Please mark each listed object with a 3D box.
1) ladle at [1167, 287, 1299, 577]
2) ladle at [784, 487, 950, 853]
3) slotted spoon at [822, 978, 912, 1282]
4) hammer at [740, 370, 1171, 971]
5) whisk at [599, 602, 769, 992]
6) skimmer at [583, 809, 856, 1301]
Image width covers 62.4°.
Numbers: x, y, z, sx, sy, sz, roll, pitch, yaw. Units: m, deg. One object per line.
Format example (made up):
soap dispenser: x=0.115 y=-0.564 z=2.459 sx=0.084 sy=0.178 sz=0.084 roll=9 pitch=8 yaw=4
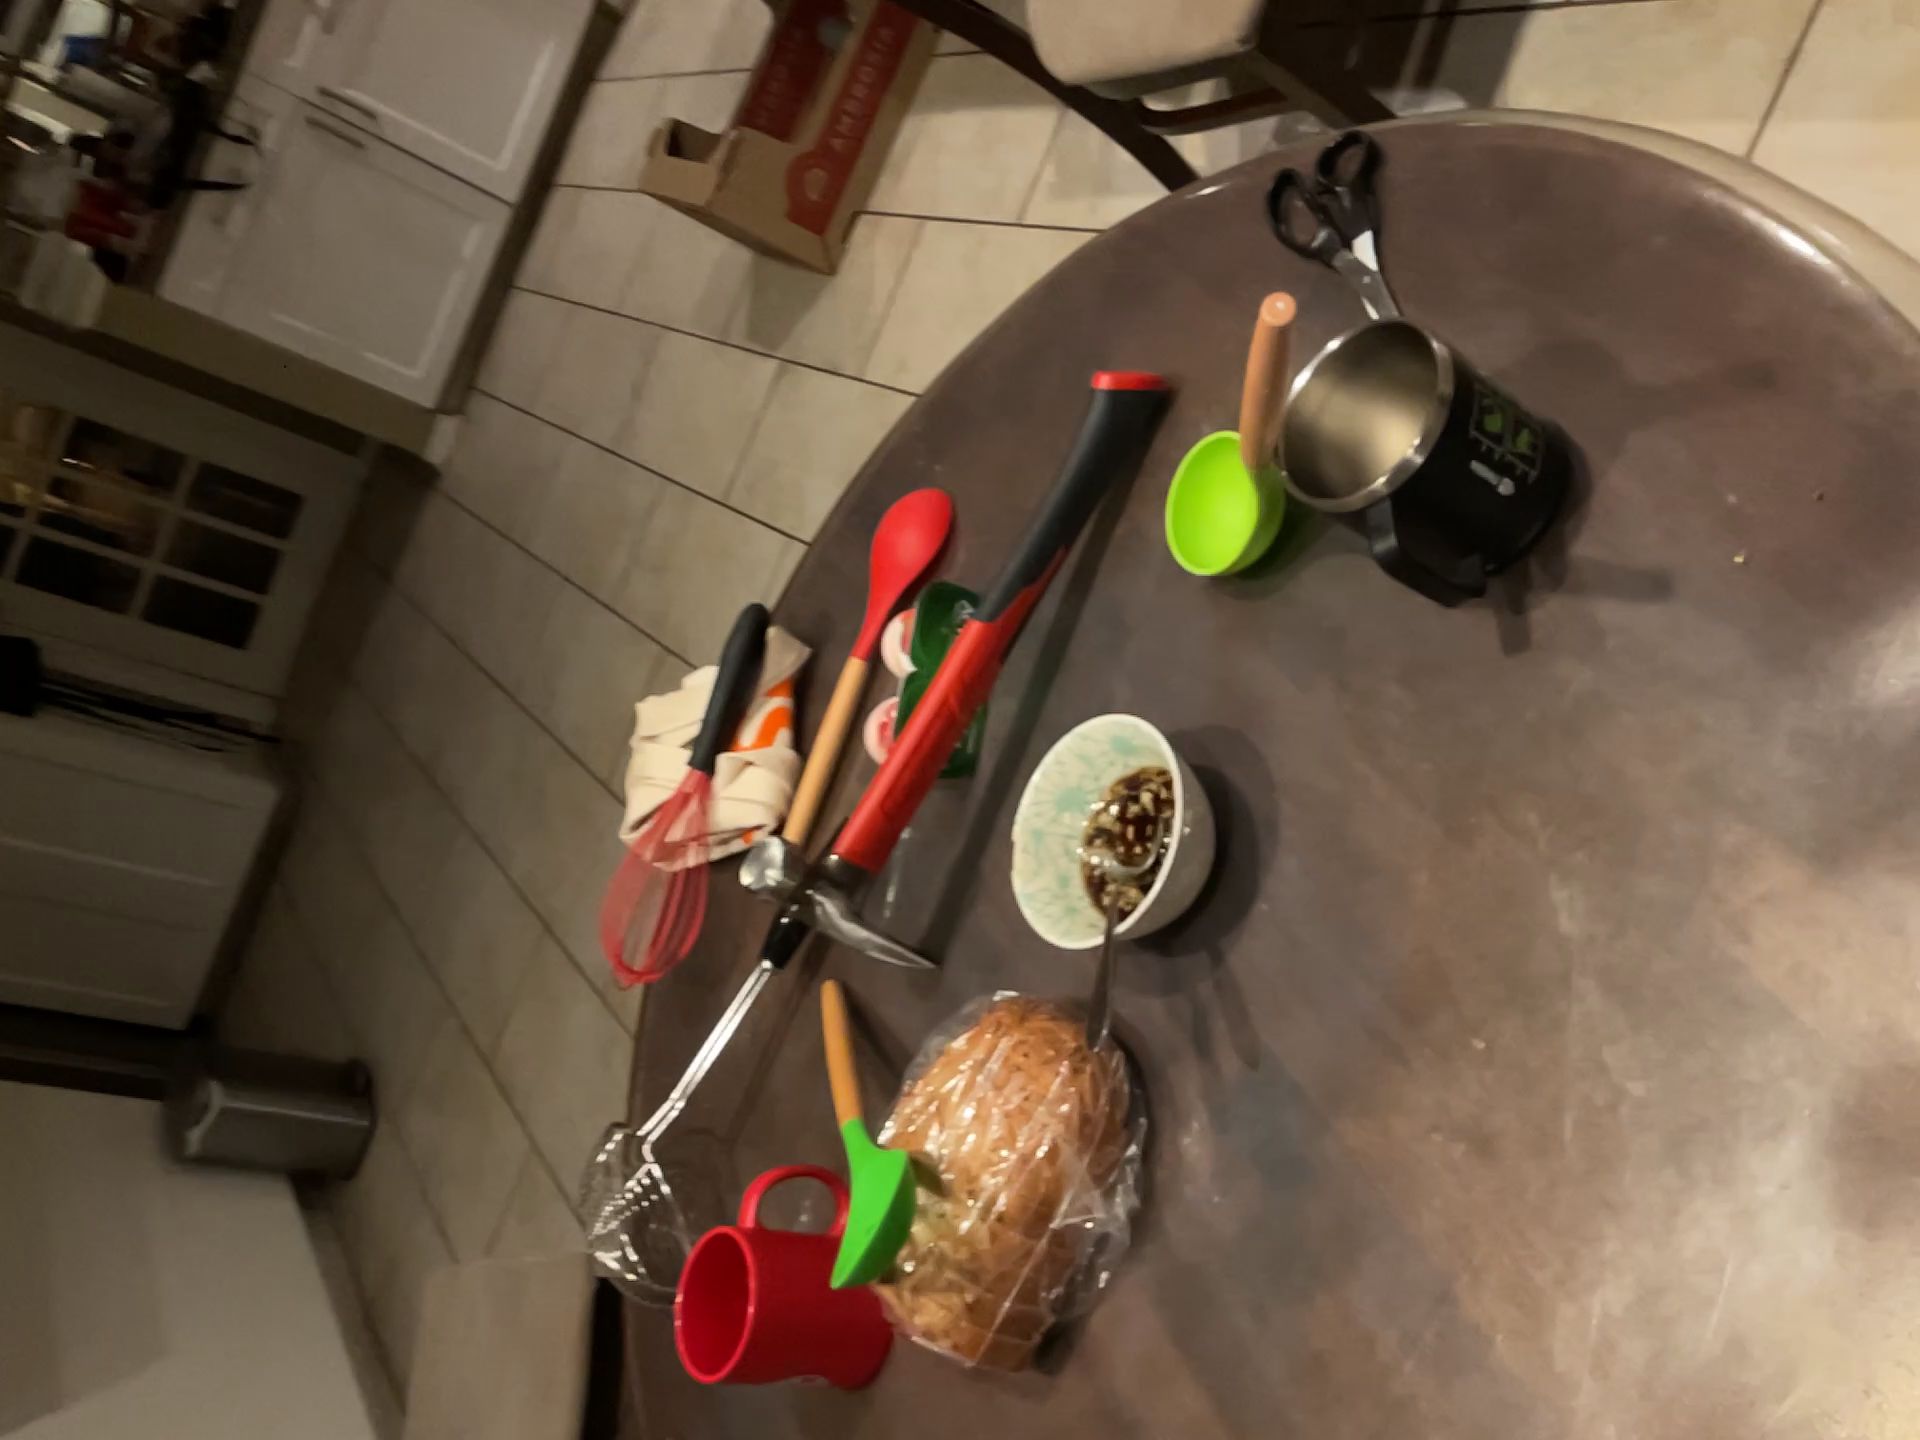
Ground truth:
ladle: x=0.123 y=-0.128 z=0.717 sx=0.062 sy=0.320 sz=0.078 roll=1 pitch=83 yaw=8
ladle: x=-0.079 y=-0.019 z=1.114 sx=0.069 sy=0.031 sz=0.315 roll=25 pitch=96 yaw=55
slotted spoon: x=-0.061 y=0.214 z=0.890 sx=0.070 sy=0.031 sz=0.314 roll=-58 pitch=15 yaw=8
hammer: x=0.025 y=-0.035 z=0.947 sx=0.038 sy=0.143 sz=0.386 roll=26 pitch=83 yaw=53
whisk: x=-0.194 y=0.055 z=1.144 sx=0.073 sy=0.073 sz=0.296 roll=15 pitch=85 yaw=55
skimmer: x=-0.142 y=0.224 z=1.077 sx=0.127 sy=0.090 sz=0.363 roll=35 pitch=91 yaw=45
